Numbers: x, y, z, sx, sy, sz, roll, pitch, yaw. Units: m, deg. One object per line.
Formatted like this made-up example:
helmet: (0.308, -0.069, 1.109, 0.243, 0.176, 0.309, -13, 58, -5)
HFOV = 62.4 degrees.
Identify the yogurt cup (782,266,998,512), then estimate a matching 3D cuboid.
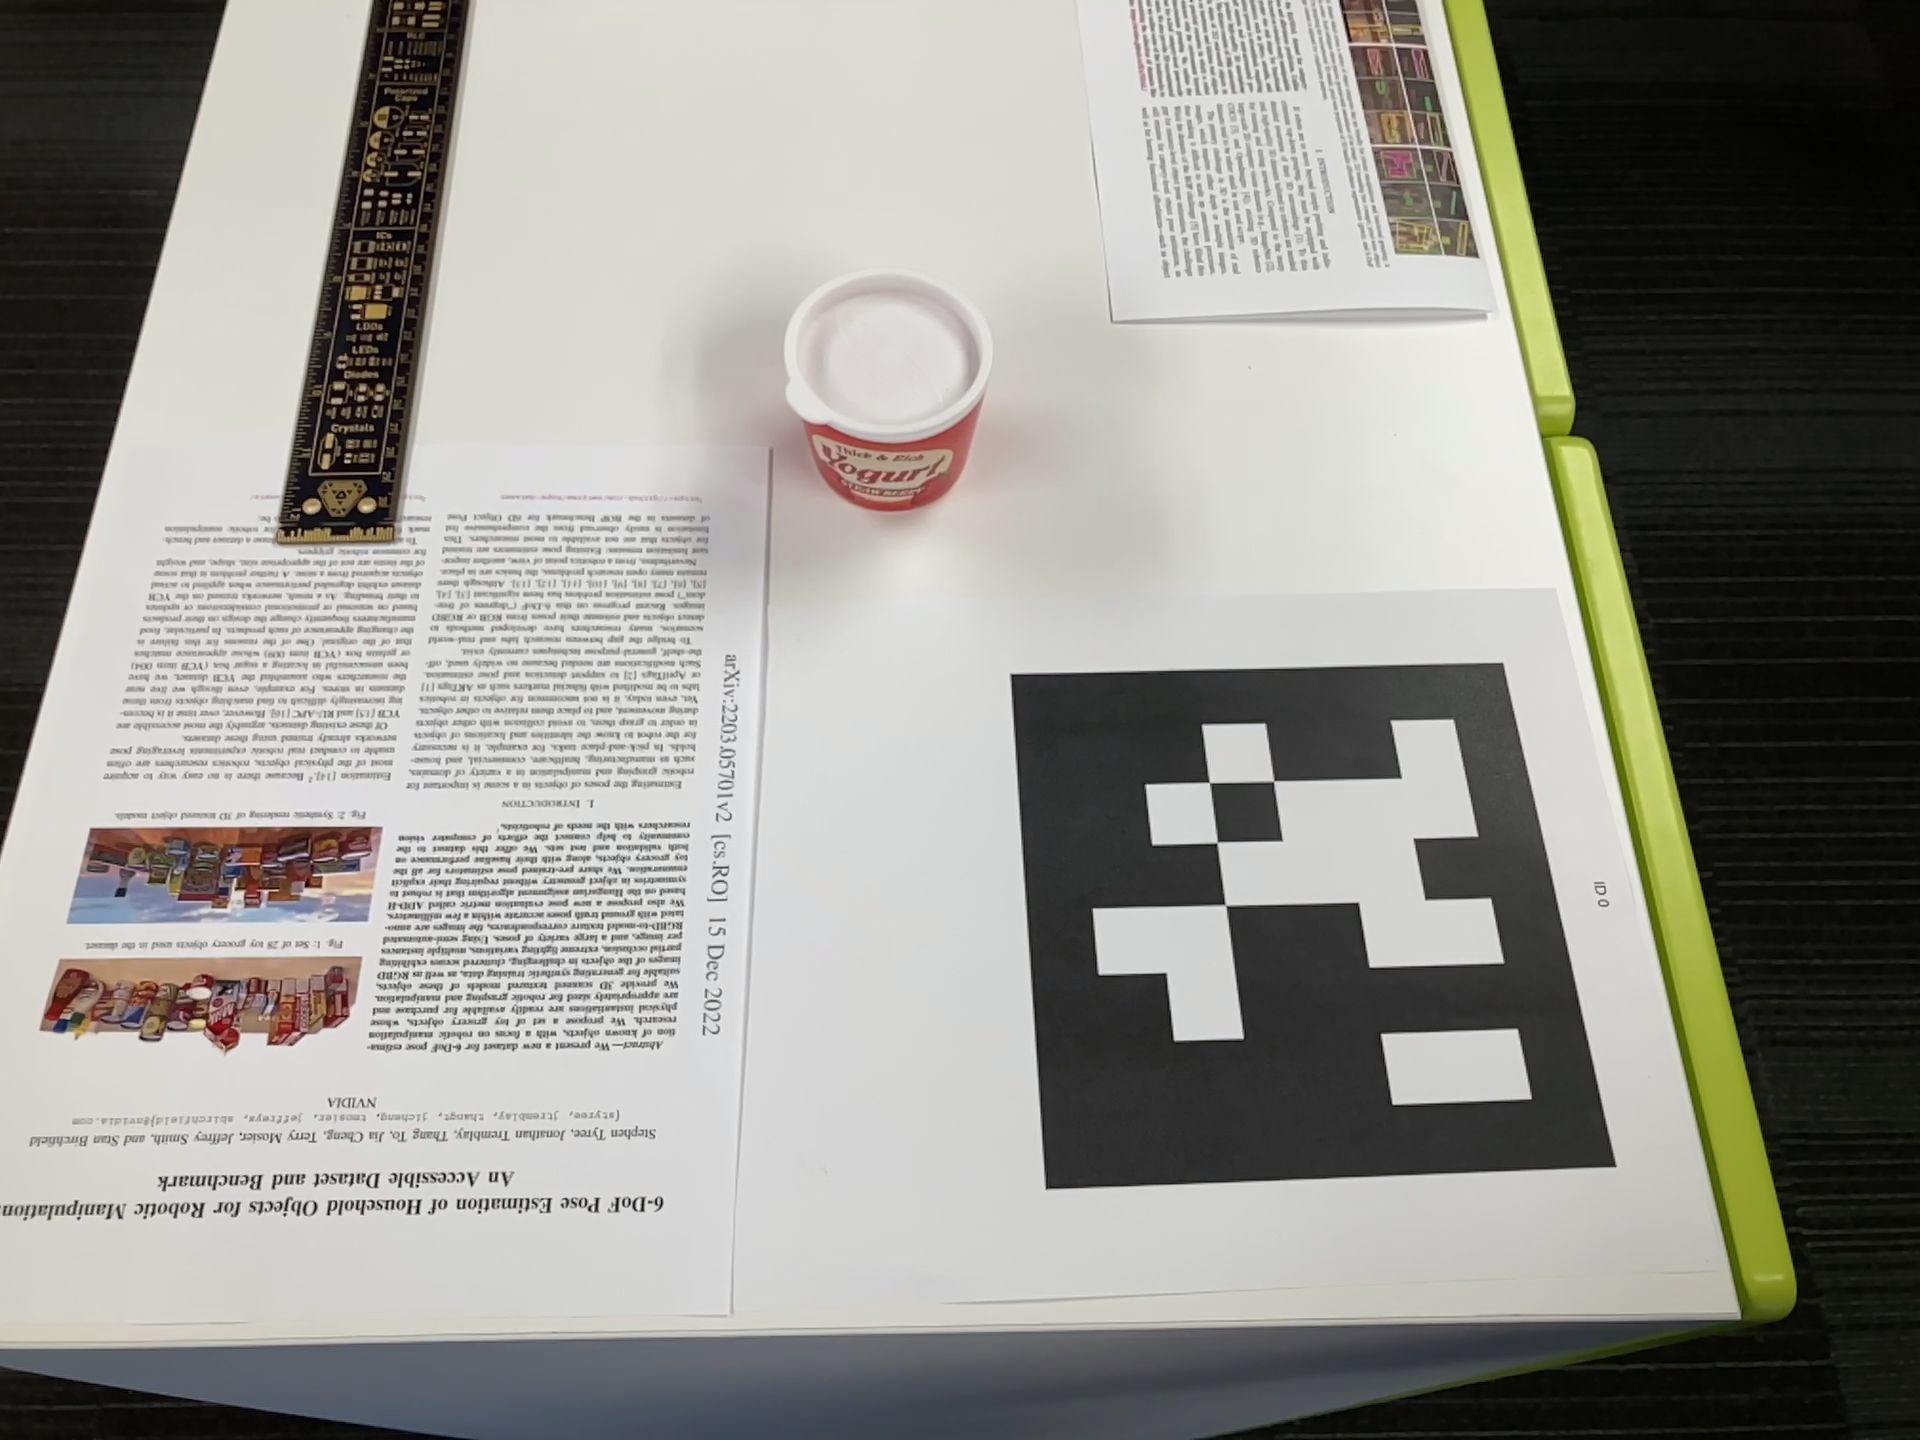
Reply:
yogurt cup: (-0.023, -0.106, 0.521, 0.072, 0.054, 0.072, 1, 63, -2)
